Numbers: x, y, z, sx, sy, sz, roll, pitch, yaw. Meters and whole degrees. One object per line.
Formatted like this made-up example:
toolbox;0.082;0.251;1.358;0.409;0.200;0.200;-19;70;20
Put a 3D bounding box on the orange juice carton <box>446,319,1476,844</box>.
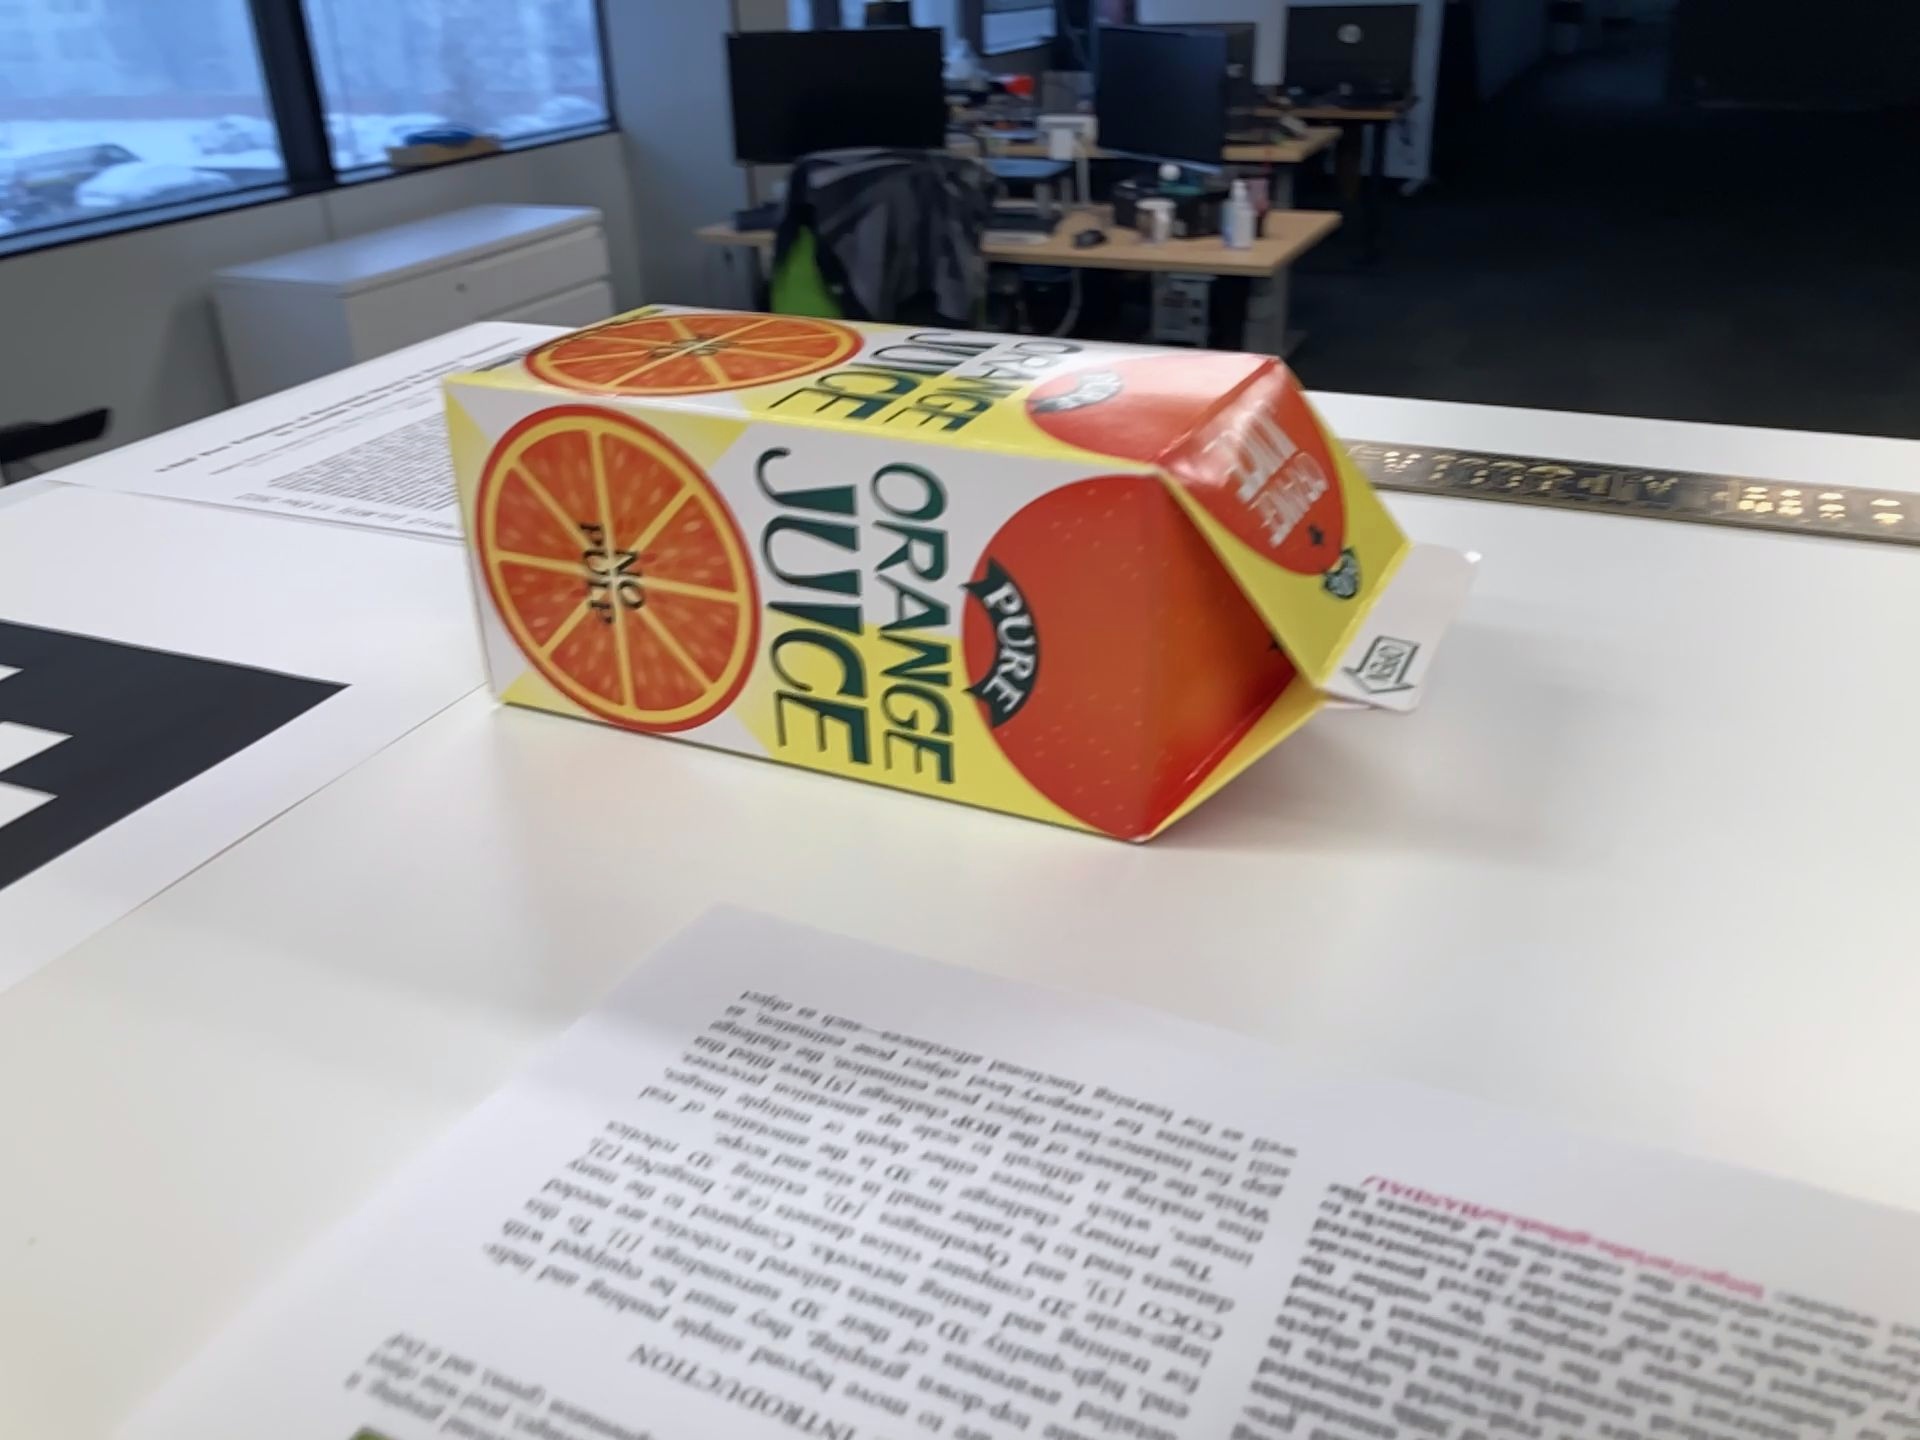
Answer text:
orange juice carton;-0.001;-0.032;0.317;0.192;0.073;0.072;11;28;24
